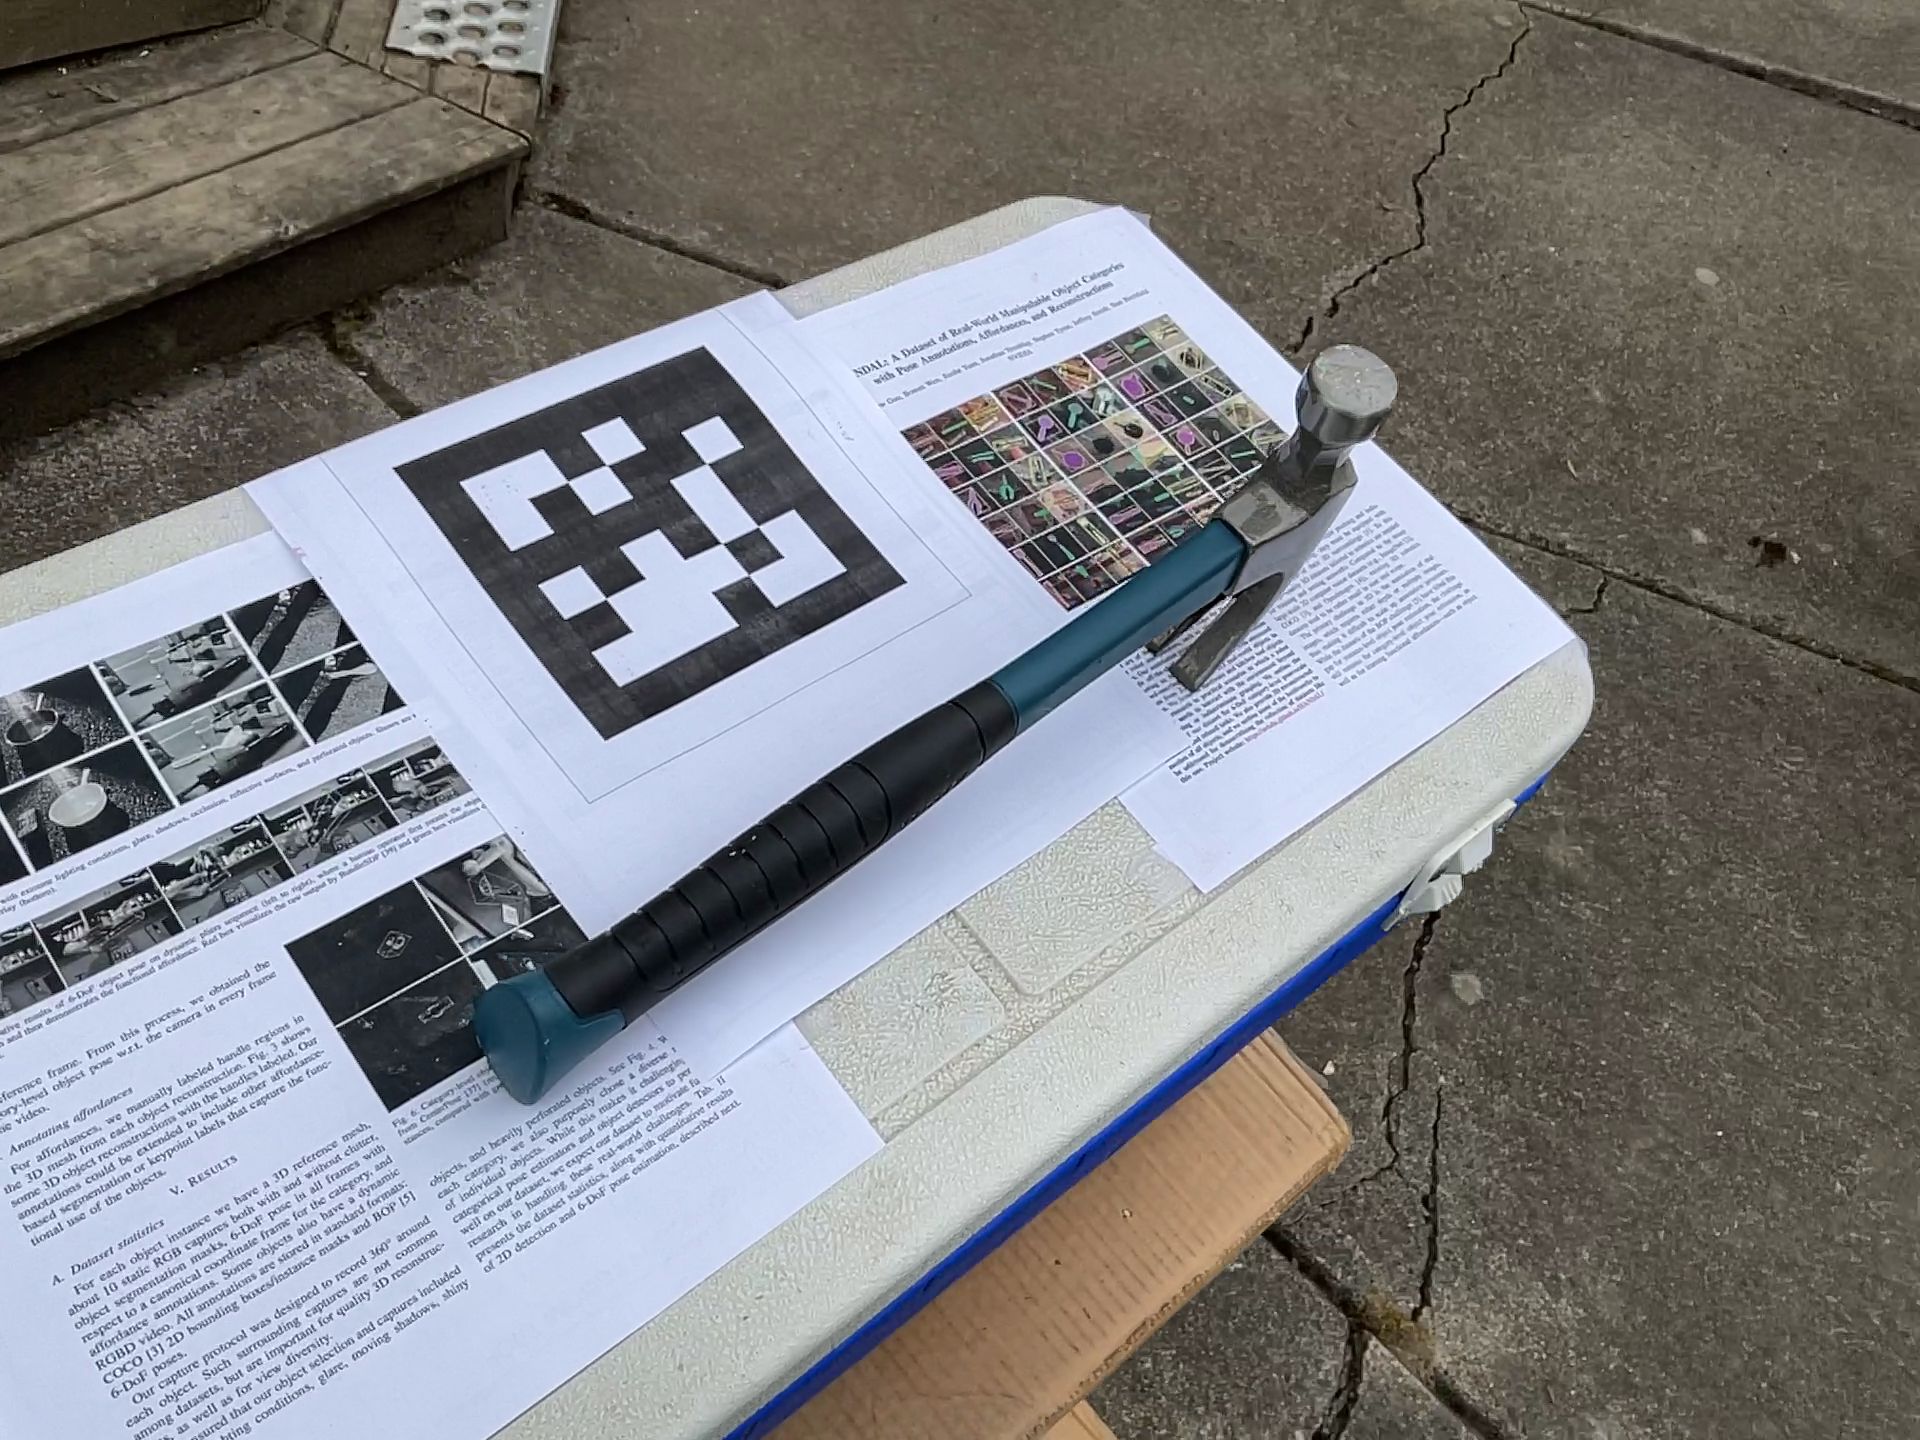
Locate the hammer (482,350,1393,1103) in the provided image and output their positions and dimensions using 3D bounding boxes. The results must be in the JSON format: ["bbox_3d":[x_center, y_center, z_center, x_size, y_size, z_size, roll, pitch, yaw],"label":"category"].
[{"bbox_3d":[0.001,0.004,0.494,0.331,0.128,0.033,-35,70,-23],"label":"hammer"}]
